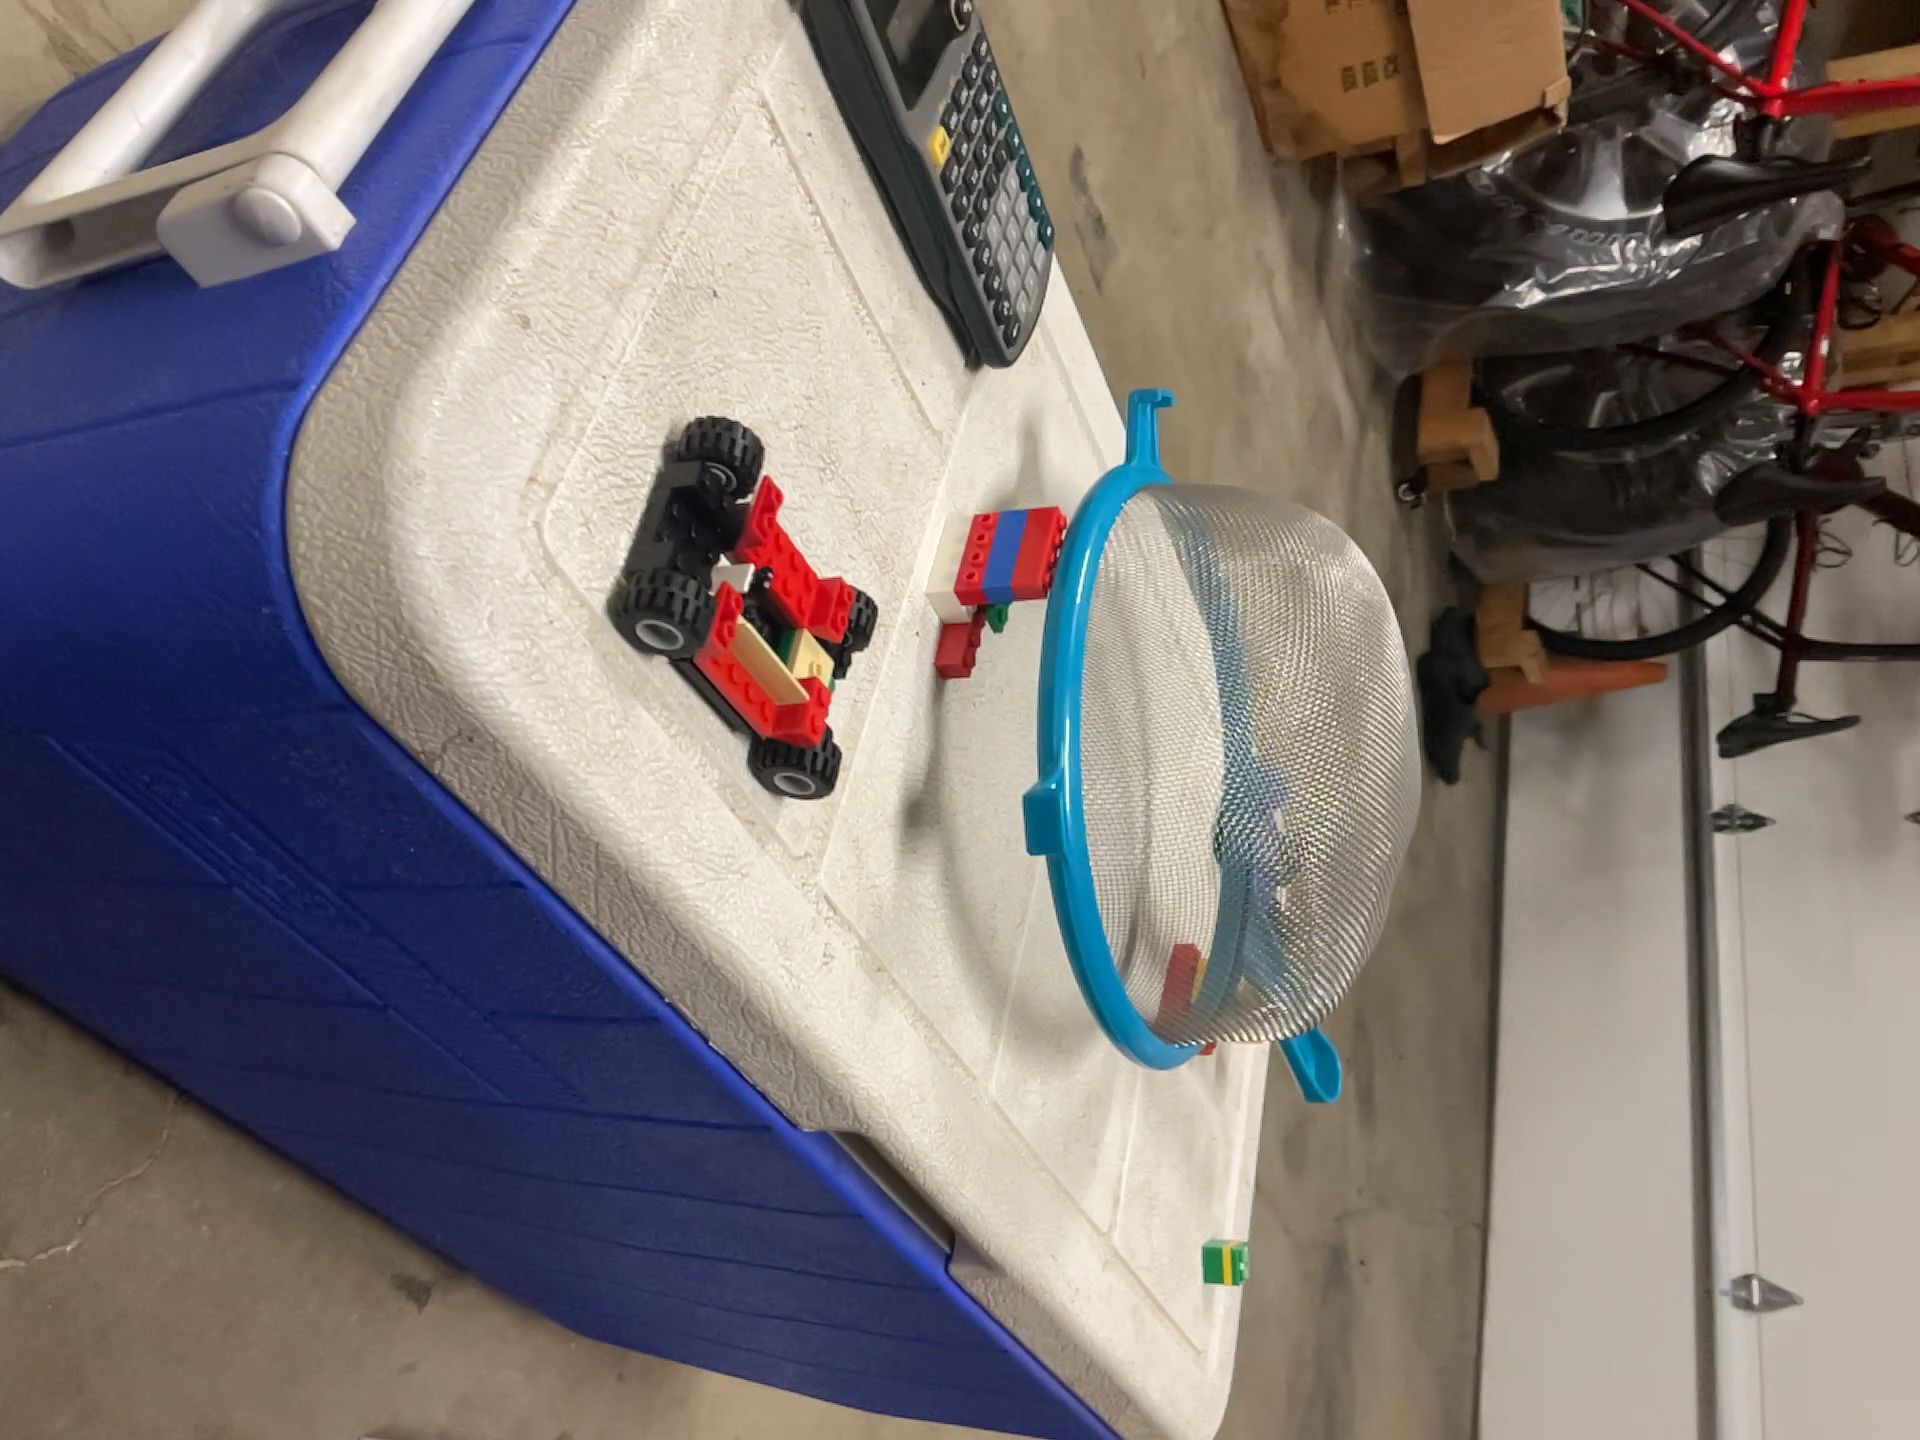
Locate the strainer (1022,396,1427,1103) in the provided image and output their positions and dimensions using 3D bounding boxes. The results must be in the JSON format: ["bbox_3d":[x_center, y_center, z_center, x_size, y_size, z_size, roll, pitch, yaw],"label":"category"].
[{"bbox_3d":[0.131,0.056,0.586,0.340,0.095,0.211,59,37,-43],"label":"strainer"}]
